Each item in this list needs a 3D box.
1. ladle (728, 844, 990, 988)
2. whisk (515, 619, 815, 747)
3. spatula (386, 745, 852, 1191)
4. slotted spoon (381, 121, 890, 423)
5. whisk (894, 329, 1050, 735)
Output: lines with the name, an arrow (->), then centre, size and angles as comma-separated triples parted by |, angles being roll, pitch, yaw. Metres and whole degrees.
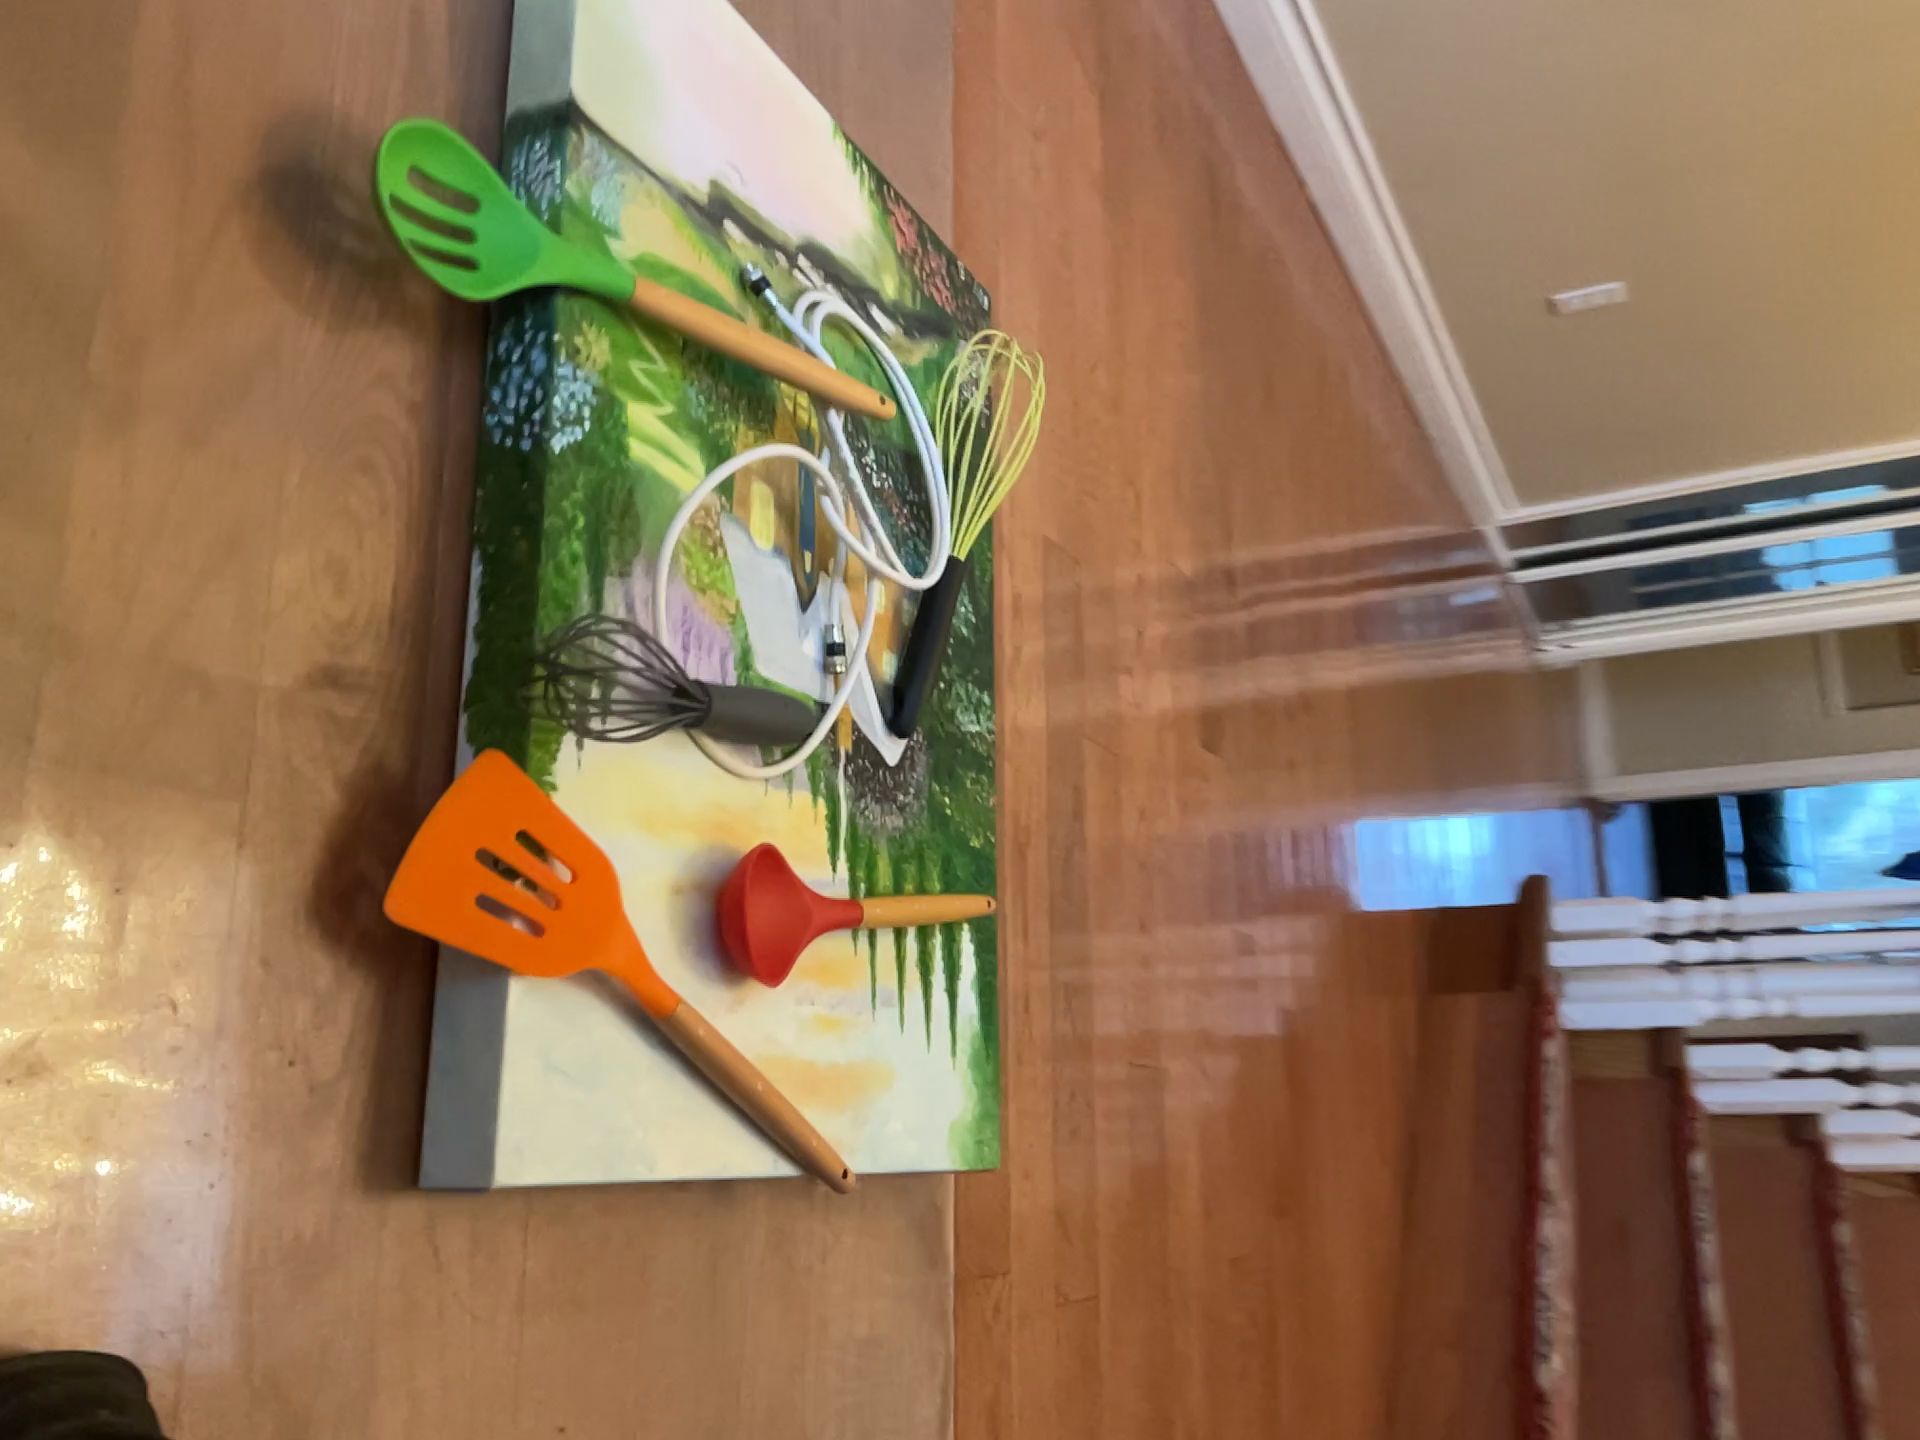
ladle -> -0.047, 0.105, 0.875 | 0.315, 0.031, 0.069 | 13, 73, -66
whisk -> -0.121, -0.009, 0.726 | 0.238, 0.055, 0.055 | 15, 80, -70
spatula -> -0.128, 0.137, 0.713 | 0.322, 0.041, 0.081 | 59, 45, -44
slotted spoon -> -0.138, -0.191, 0.748 | 0.313, 0.031, 0.070 | 14, 70, -51
whisk -> -0.002, -0.126, 1.011 | 0.079, 0.067, 0.312 | 45, 49, -45
